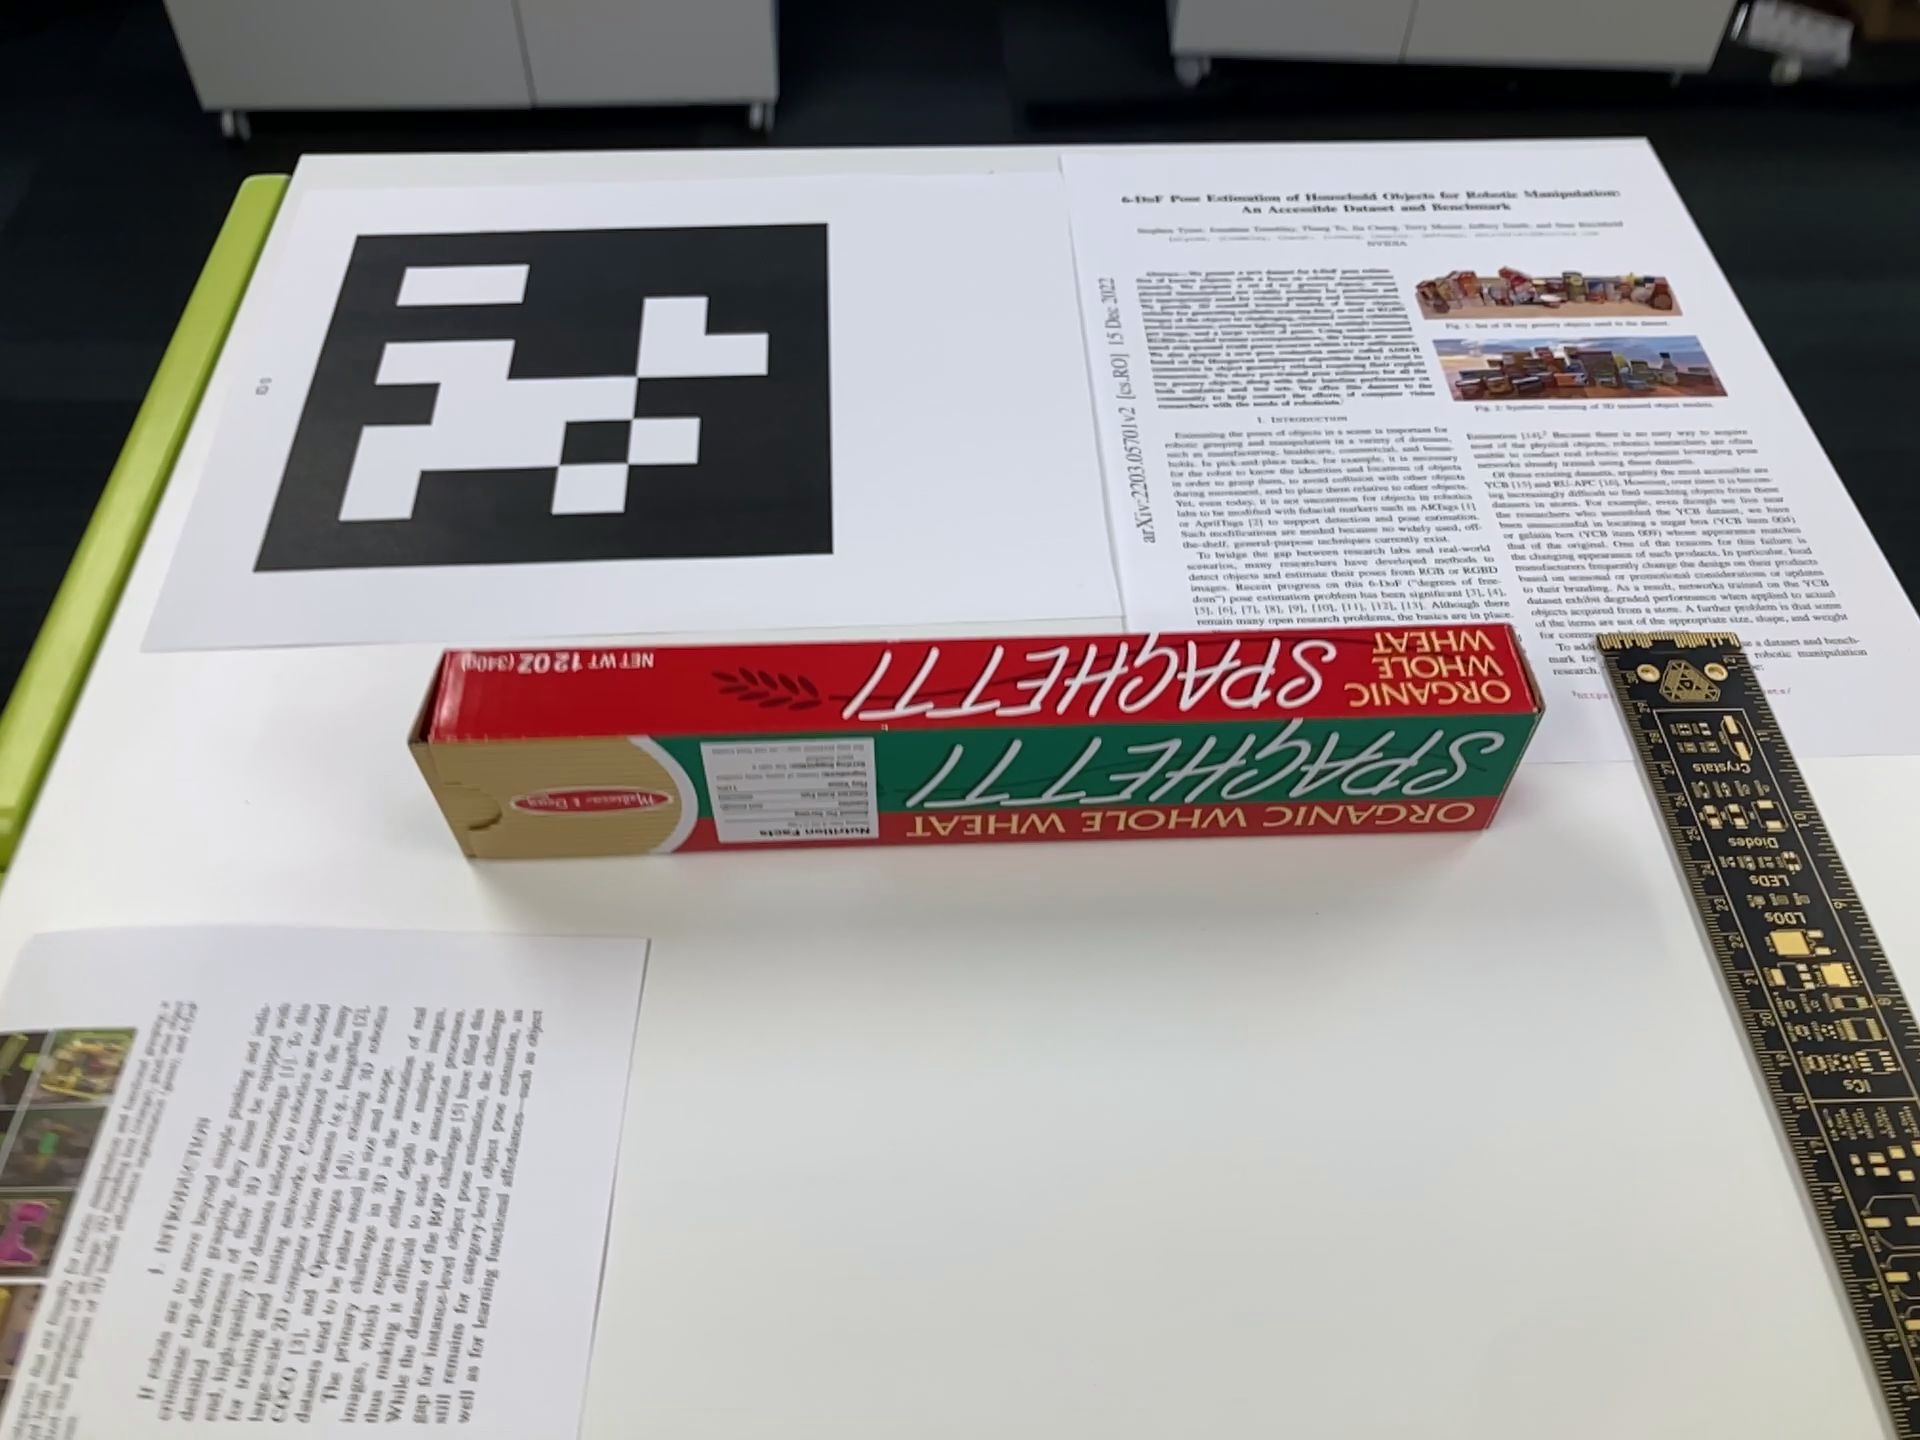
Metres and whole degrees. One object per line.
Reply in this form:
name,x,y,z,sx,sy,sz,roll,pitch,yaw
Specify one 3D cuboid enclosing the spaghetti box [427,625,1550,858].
spaghetti box,0.007,0.006,0.378,0.250,0.050,0.028,-1,53,-2
